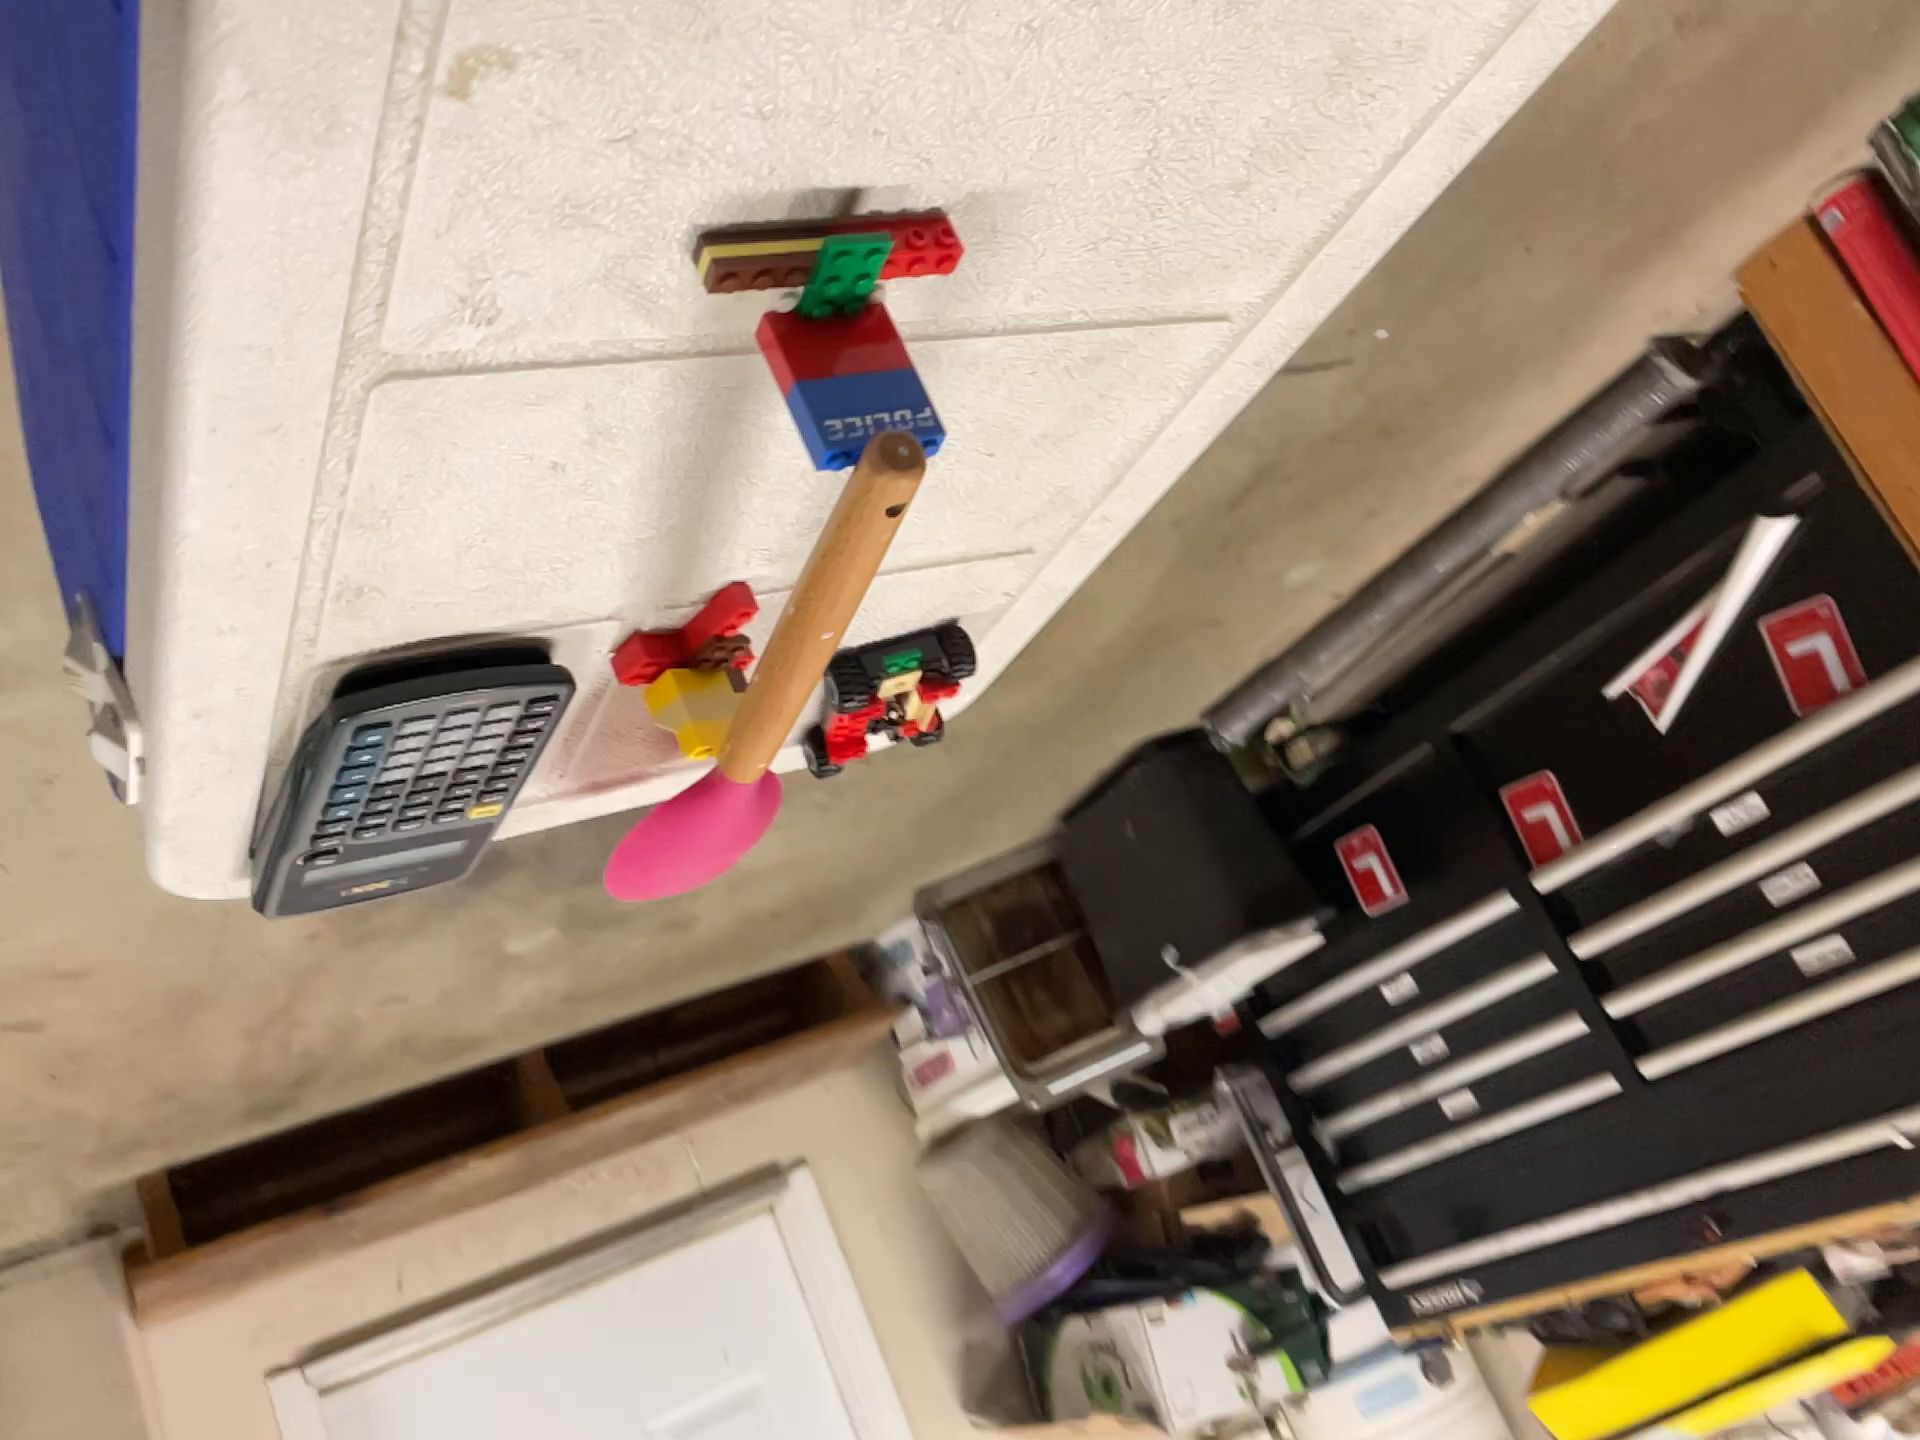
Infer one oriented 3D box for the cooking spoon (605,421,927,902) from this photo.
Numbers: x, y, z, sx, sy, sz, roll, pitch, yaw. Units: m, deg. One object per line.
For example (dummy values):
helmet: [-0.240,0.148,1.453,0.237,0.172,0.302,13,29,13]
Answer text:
cooking spoon: [-0.061,0.003,0.484,0.069,0.017,0.318,-21,165,-26]
